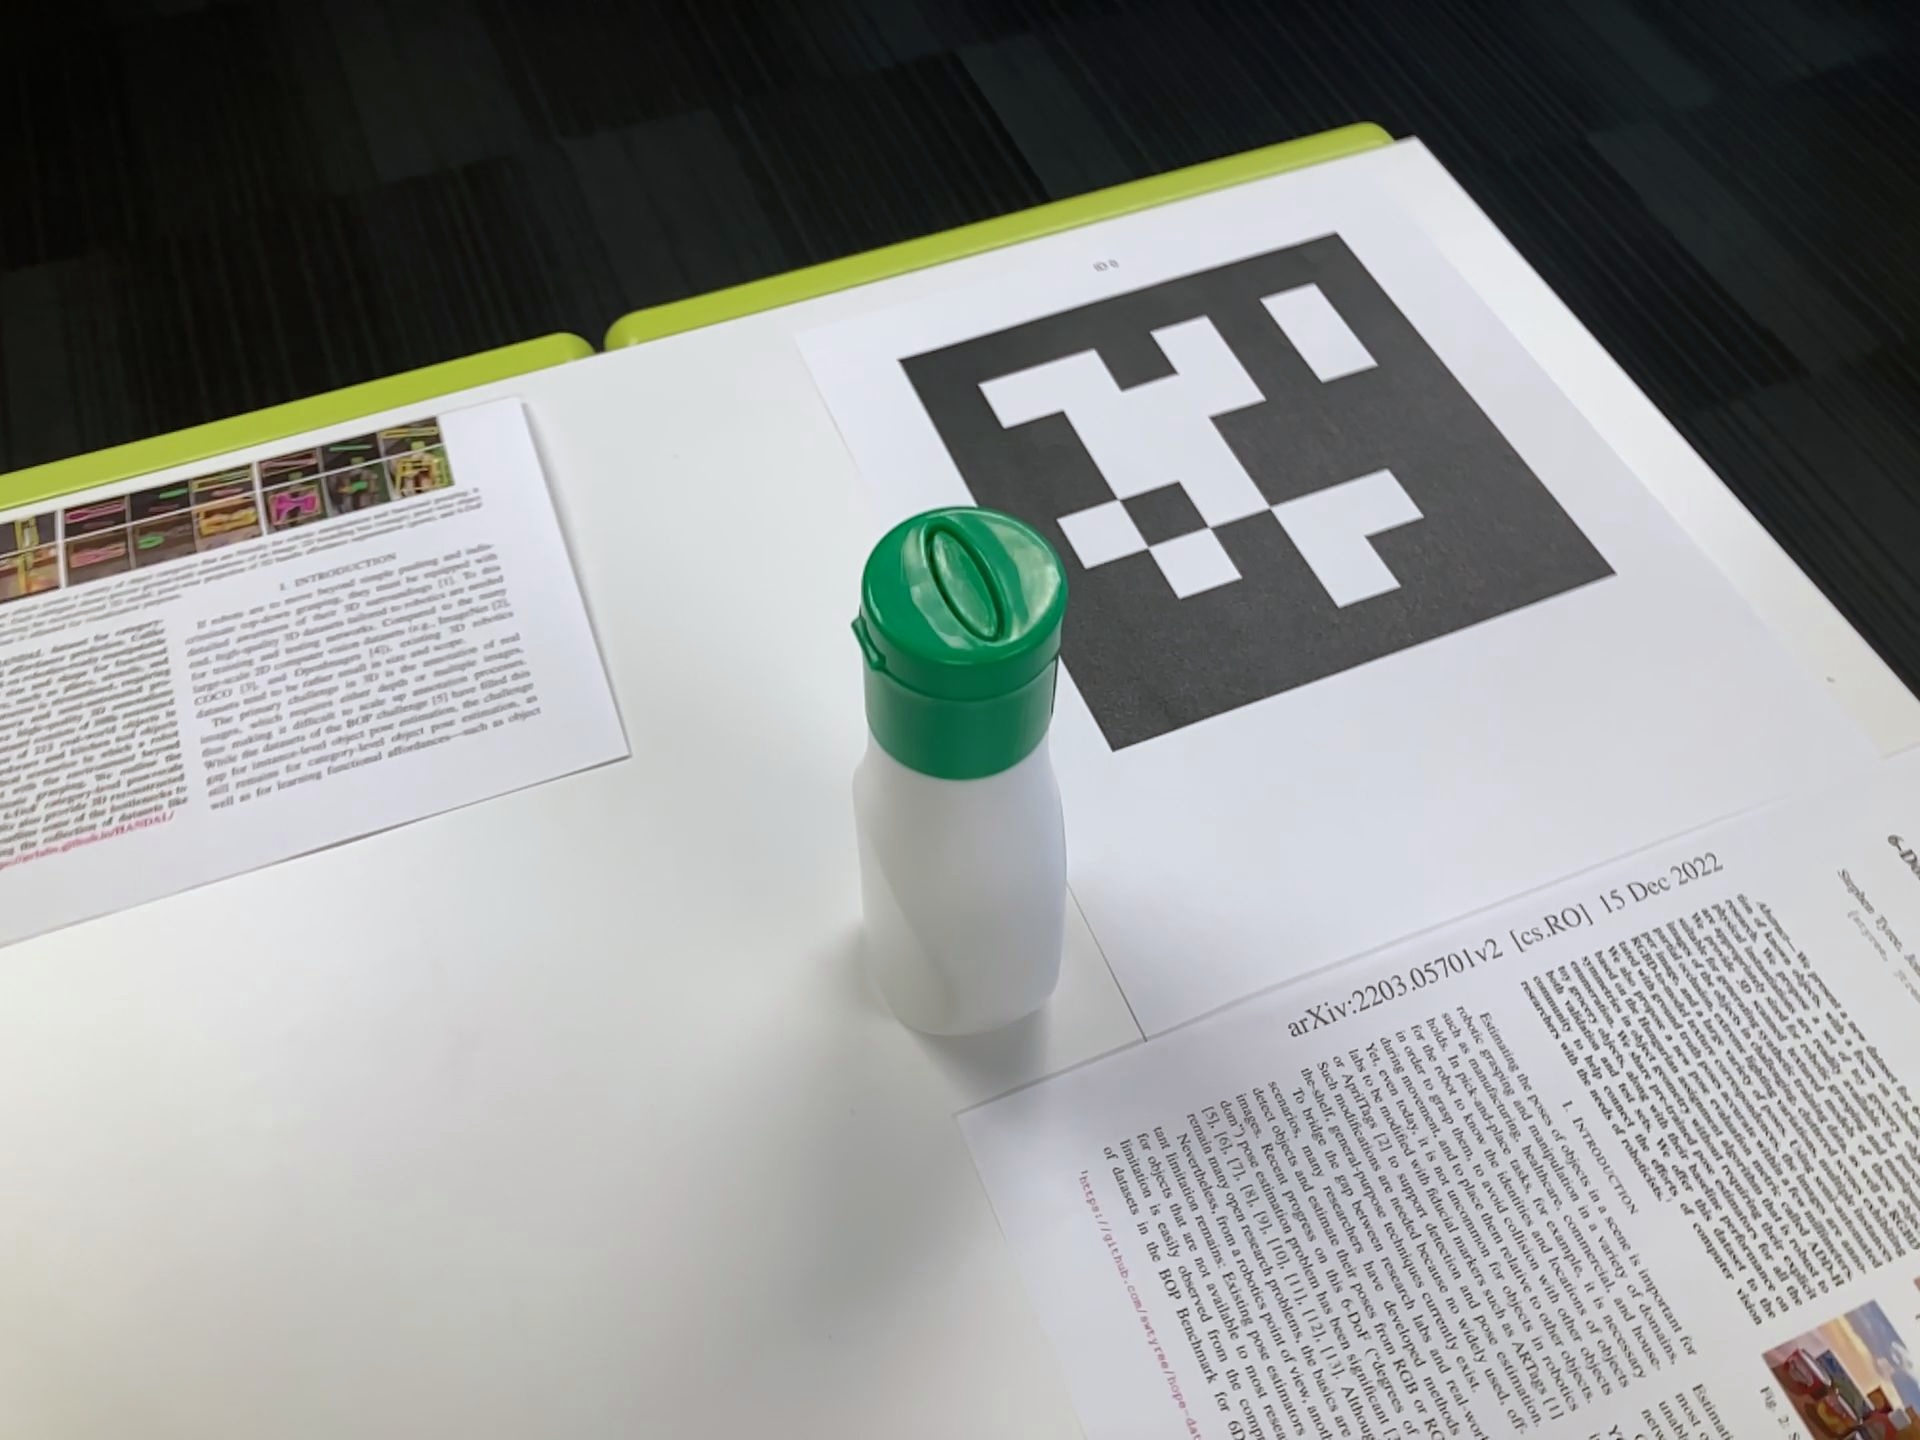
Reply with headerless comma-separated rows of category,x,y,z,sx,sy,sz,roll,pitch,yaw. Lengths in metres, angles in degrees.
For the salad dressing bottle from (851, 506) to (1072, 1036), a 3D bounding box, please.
salad dressing bottle,0.000,0.017,0.332,0.044,0.147,0.064,-18,59,-12
